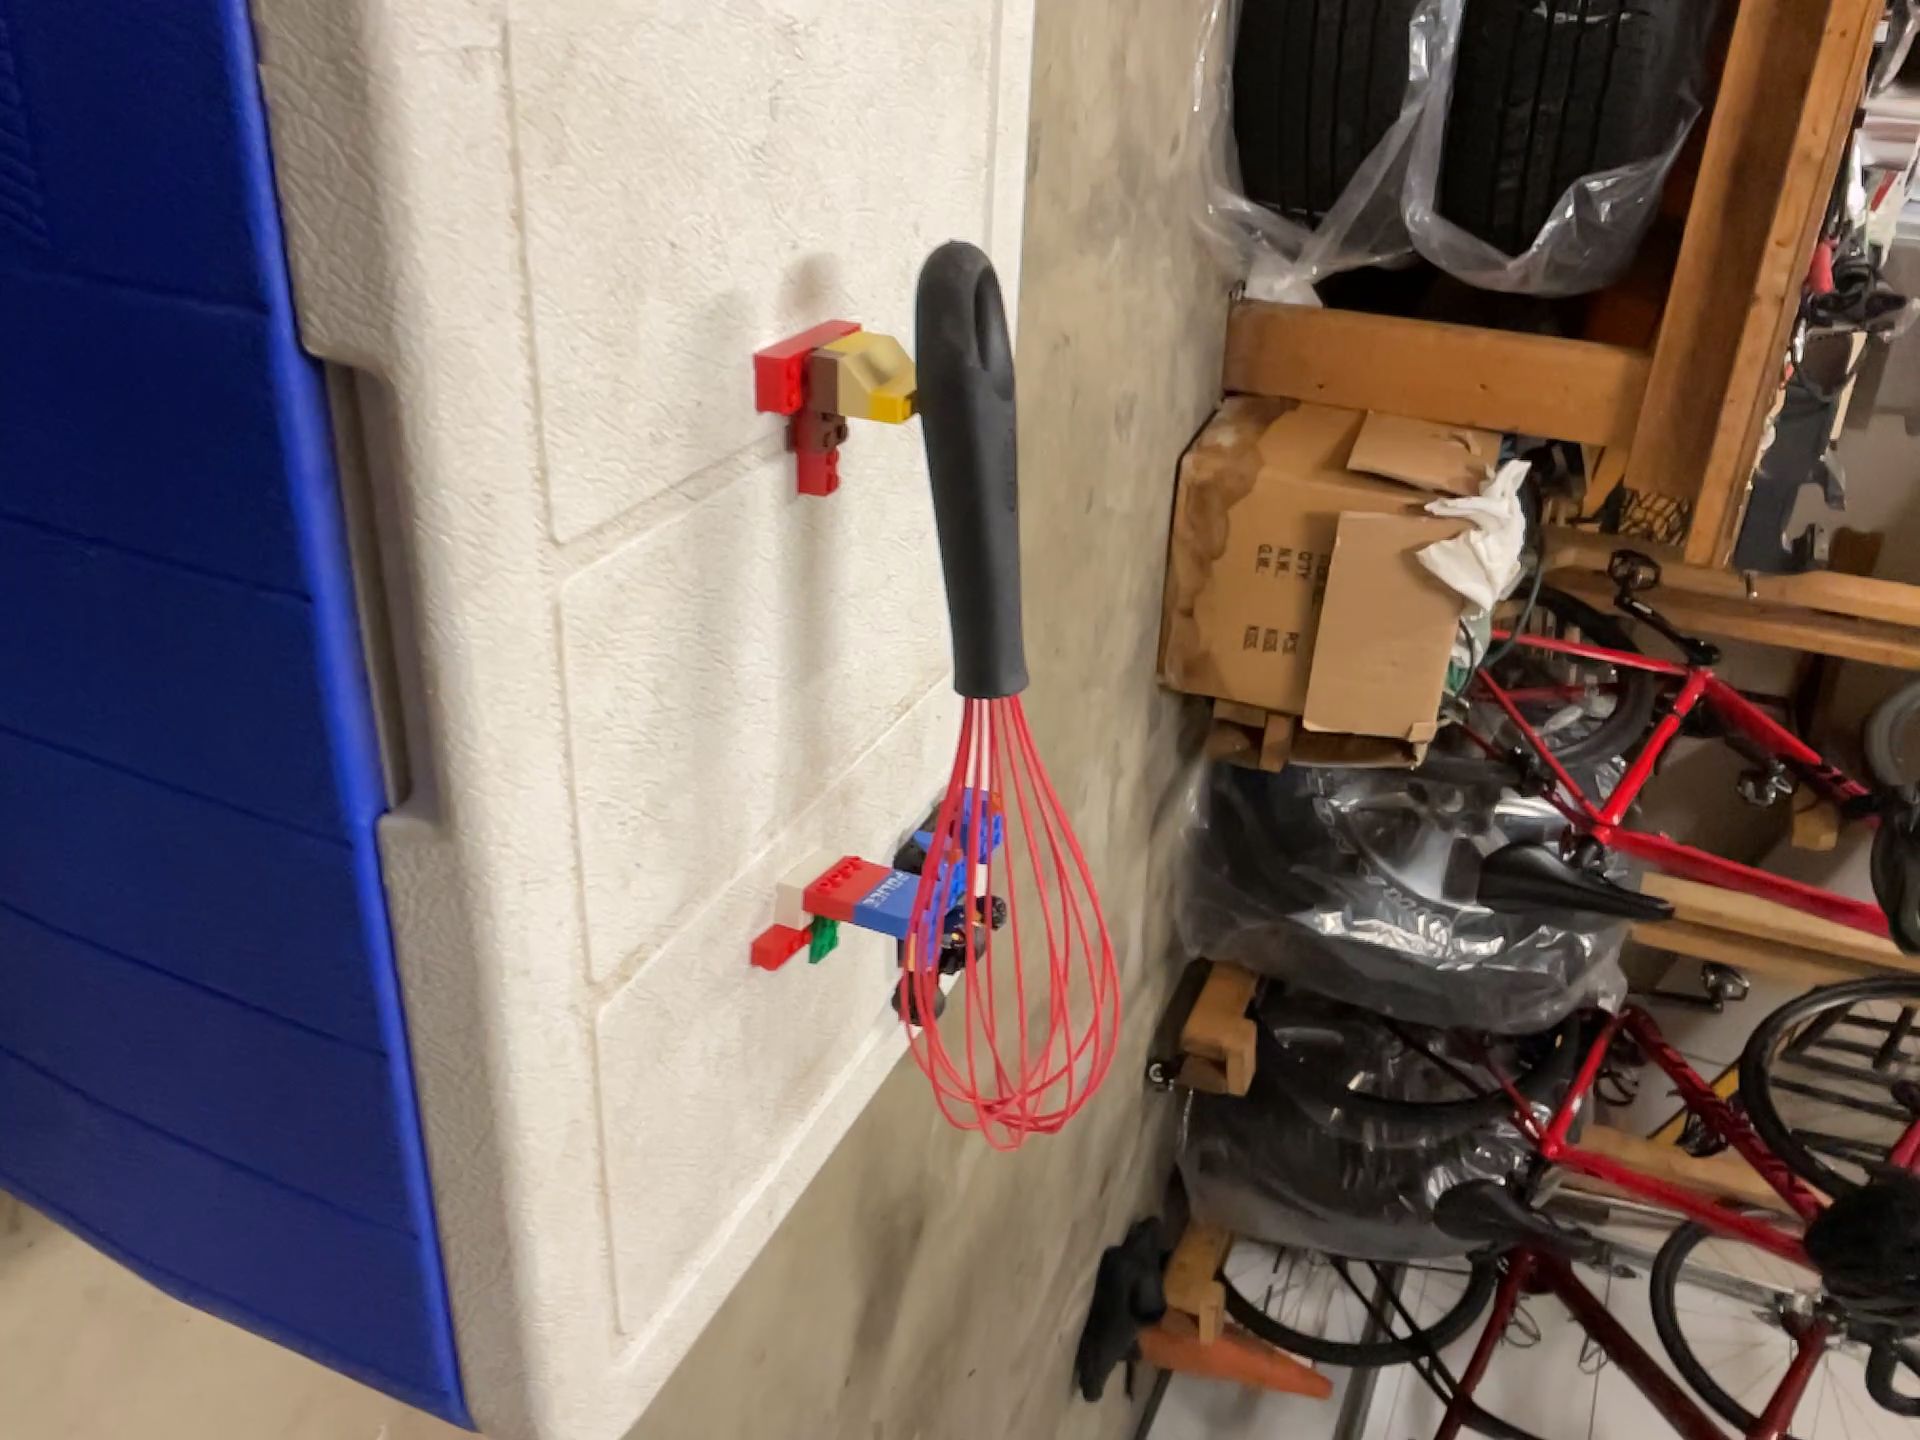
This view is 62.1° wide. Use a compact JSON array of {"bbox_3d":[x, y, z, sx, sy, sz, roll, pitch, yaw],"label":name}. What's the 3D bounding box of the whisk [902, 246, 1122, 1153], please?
[{"bbox_3d":[0.010,0.007,0.491,0.073,0.073,0.295,-40,130,-55],"label":"whisk"}]
